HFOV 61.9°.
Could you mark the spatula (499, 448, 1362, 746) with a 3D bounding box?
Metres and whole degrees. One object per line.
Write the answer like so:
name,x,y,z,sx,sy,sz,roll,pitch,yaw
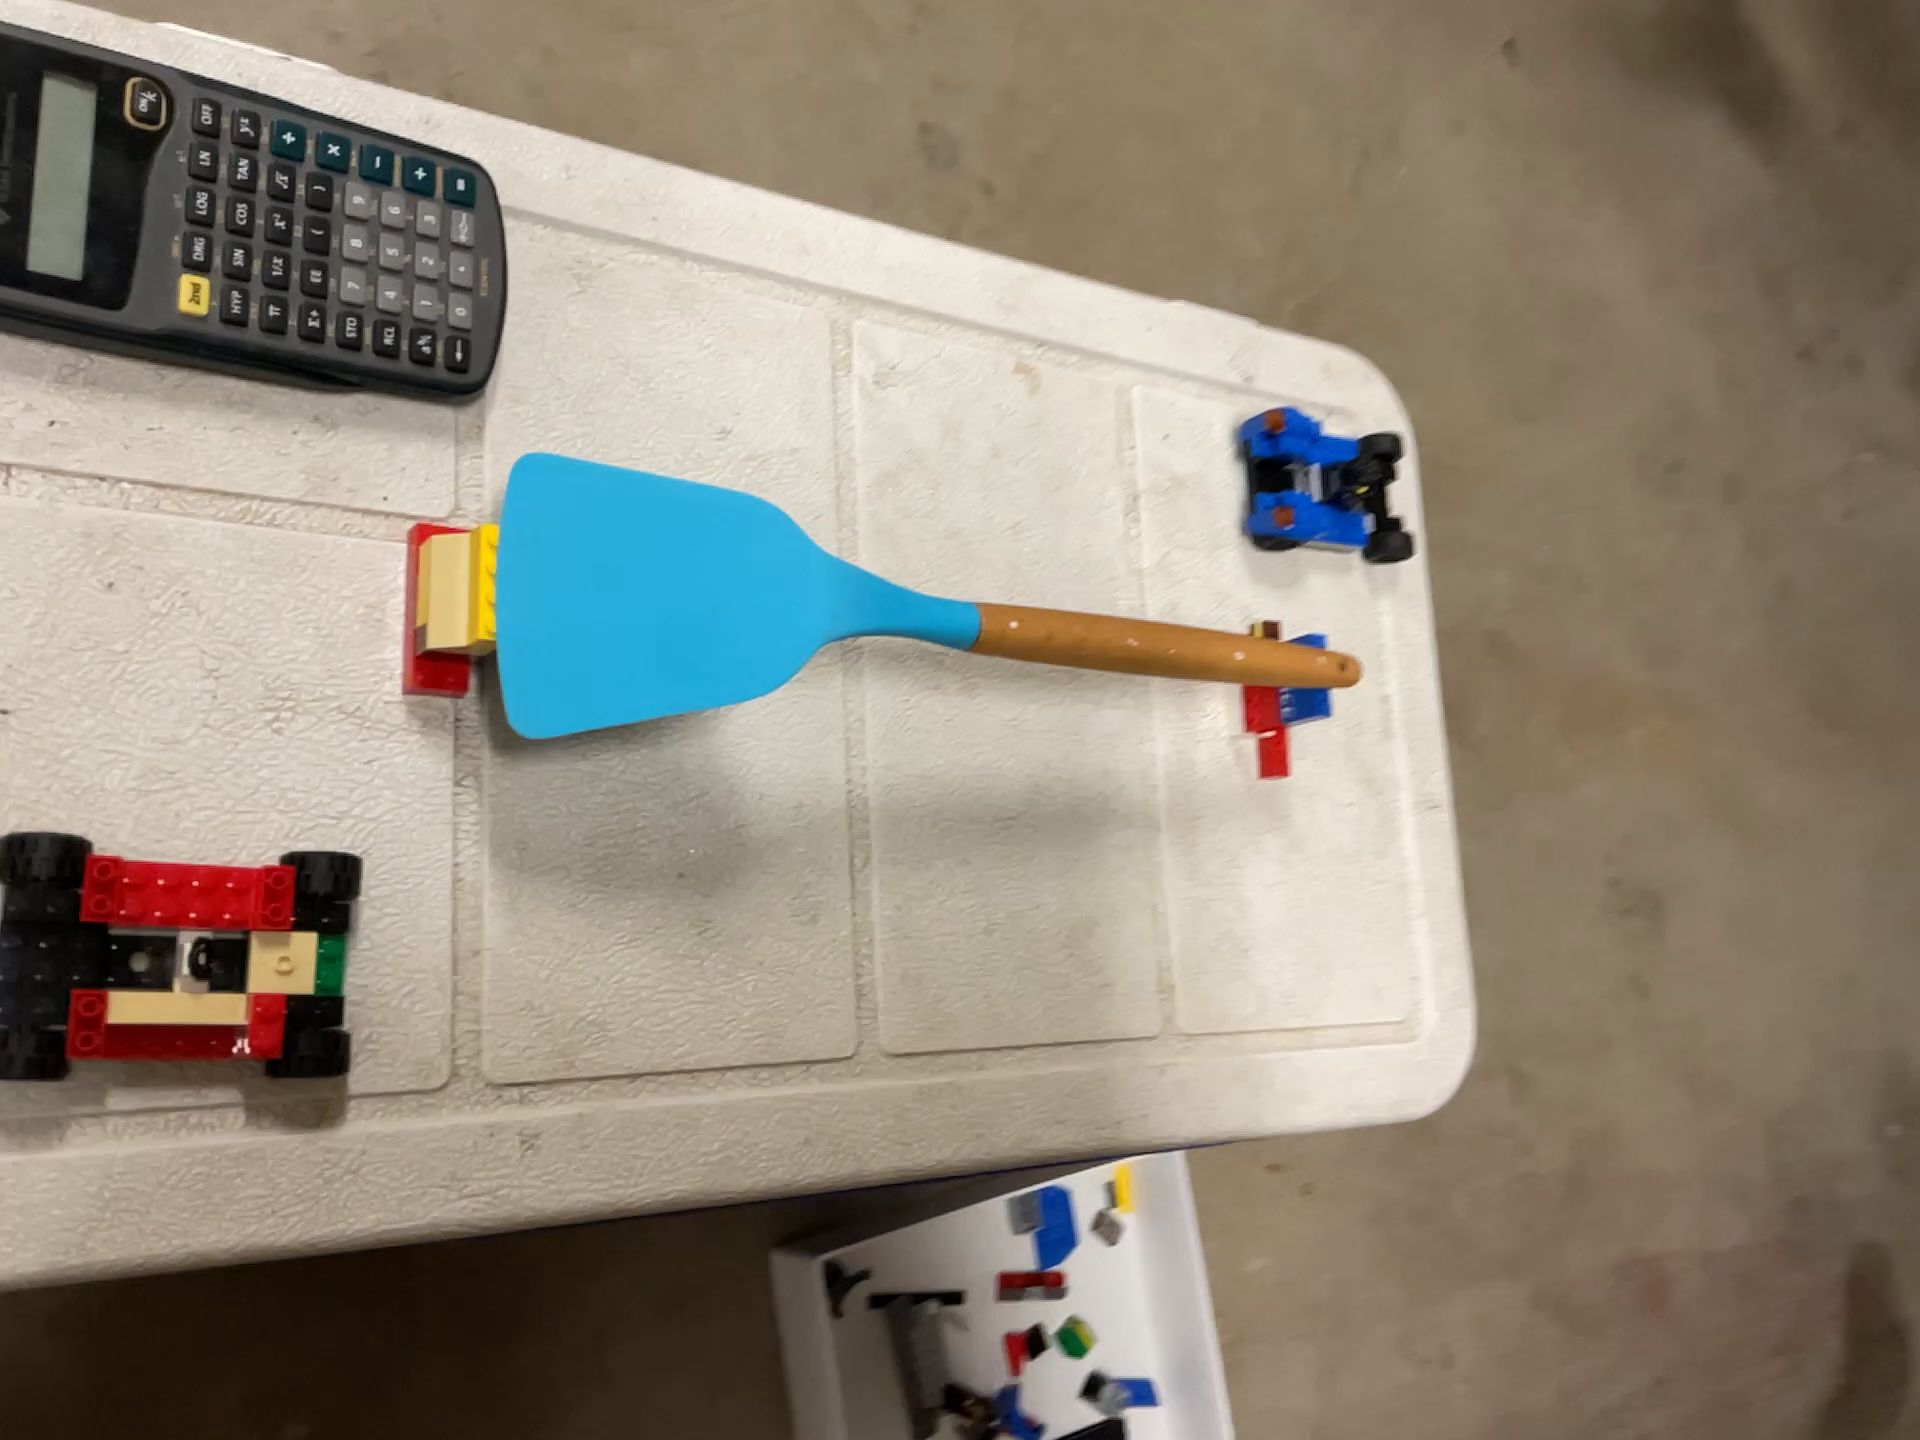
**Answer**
spatula,0.015,-0.026,0.508,0.318,0.044,0.082,5,76,-38
